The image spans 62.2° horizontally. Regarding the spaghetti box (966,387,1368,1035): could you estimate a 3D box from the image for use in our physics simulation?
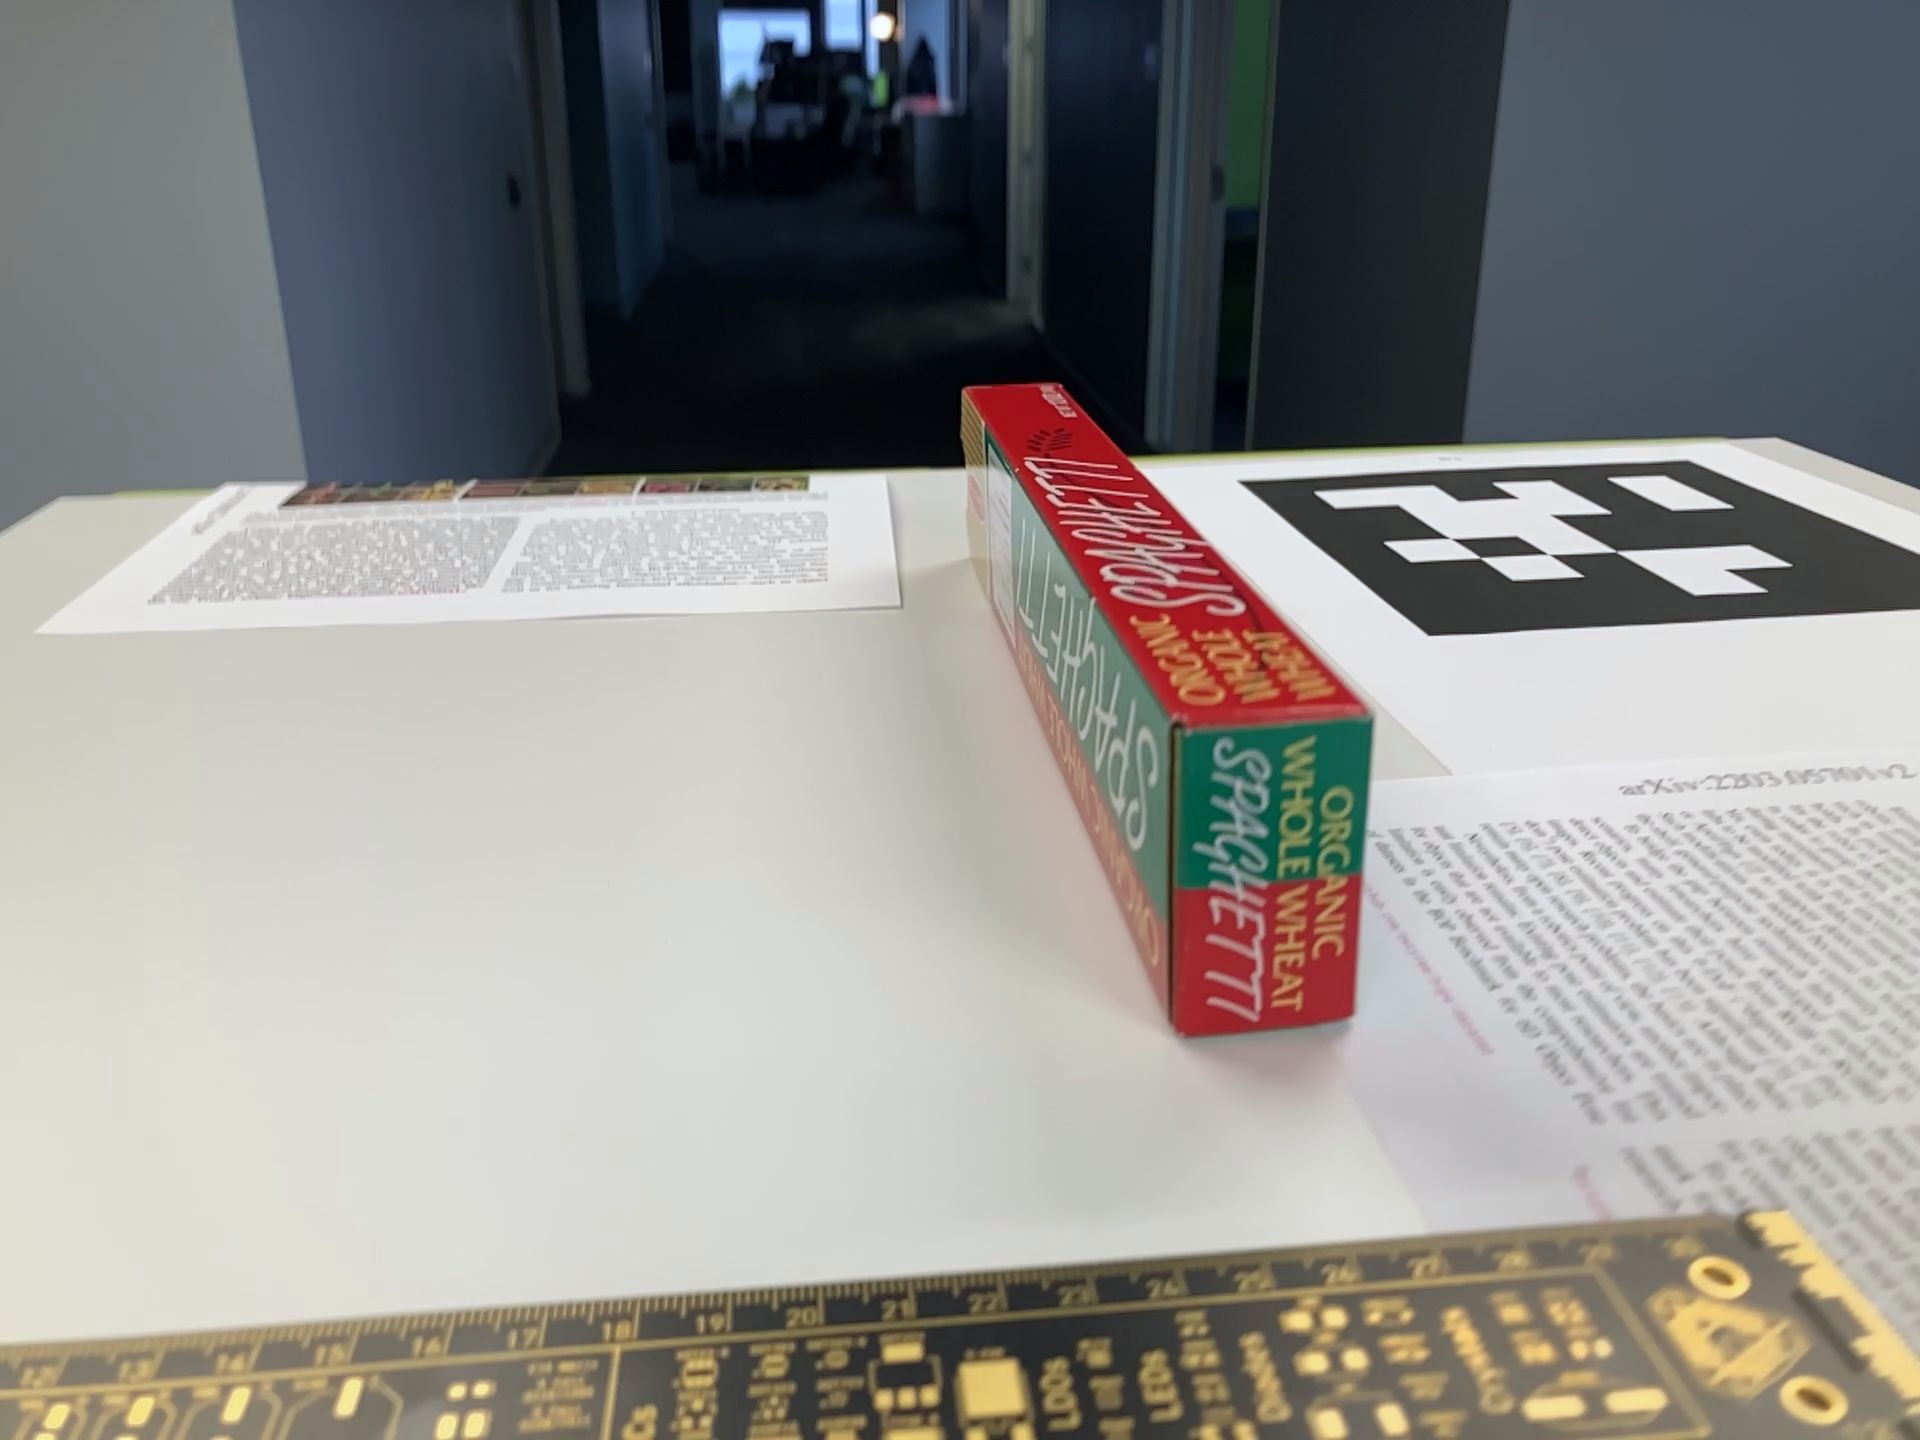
[{"bbox_3d":[0.029,-0.023,0.333,0.028,0.050,0.250,-5,22,-5],"label":"spaghetti box"}]
